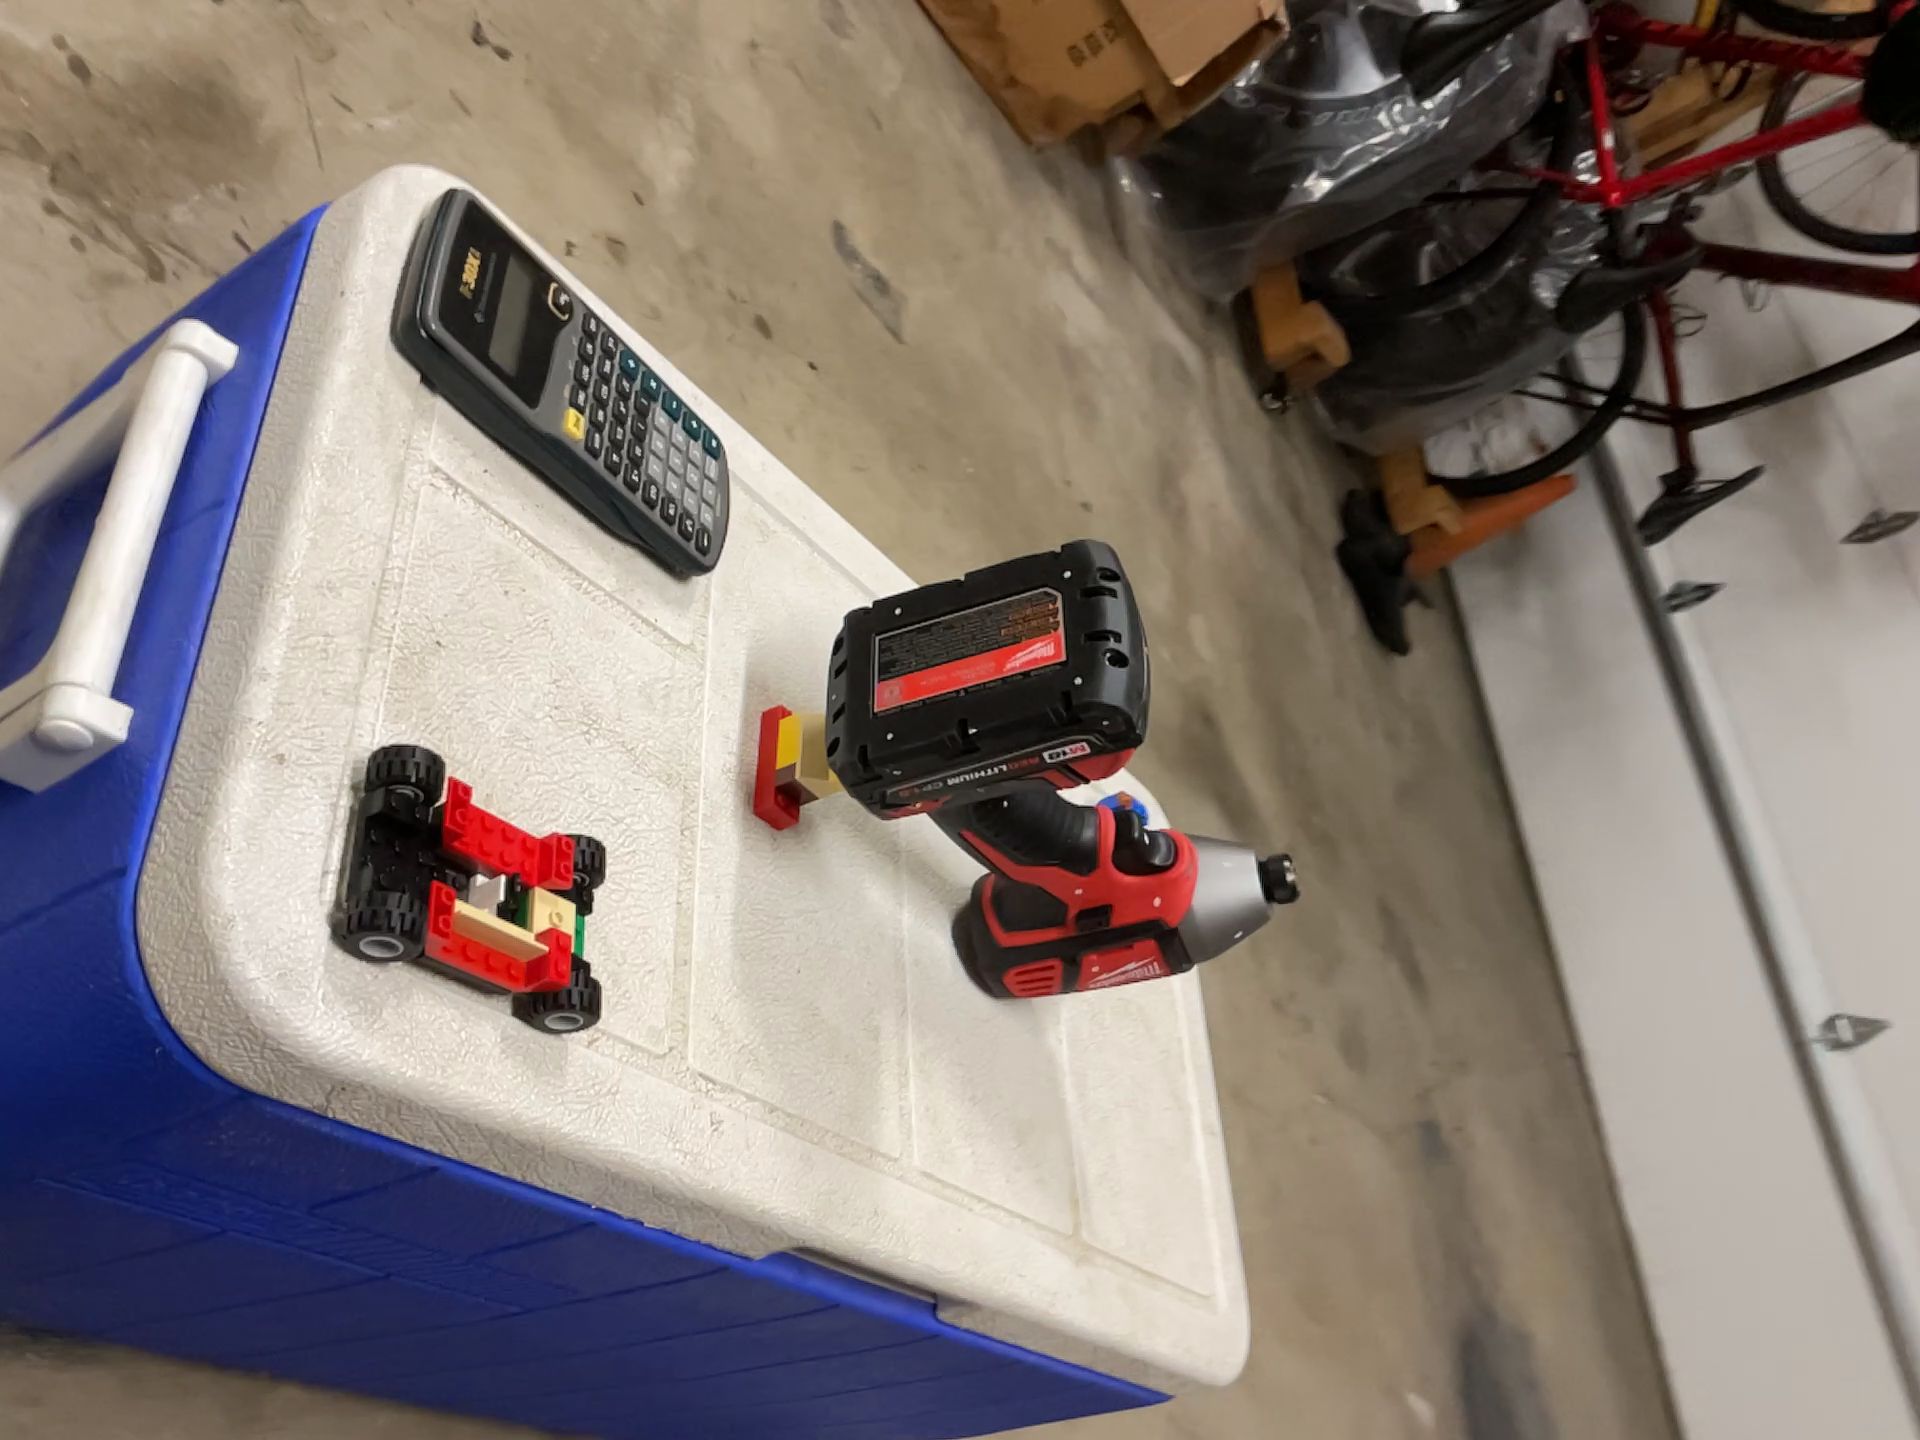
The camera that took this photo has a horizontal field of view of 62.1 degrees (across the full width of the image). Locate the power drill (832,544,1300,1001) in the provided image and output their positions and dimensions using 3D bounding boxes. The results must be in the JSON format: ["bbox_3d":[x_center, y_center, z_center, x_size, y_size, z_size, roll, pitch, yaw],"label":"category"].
[{"bbox_3d":[0.048,0.036,0.637,0.219,0.143,0.079,59,24,-48],"label":"power drill"}]
